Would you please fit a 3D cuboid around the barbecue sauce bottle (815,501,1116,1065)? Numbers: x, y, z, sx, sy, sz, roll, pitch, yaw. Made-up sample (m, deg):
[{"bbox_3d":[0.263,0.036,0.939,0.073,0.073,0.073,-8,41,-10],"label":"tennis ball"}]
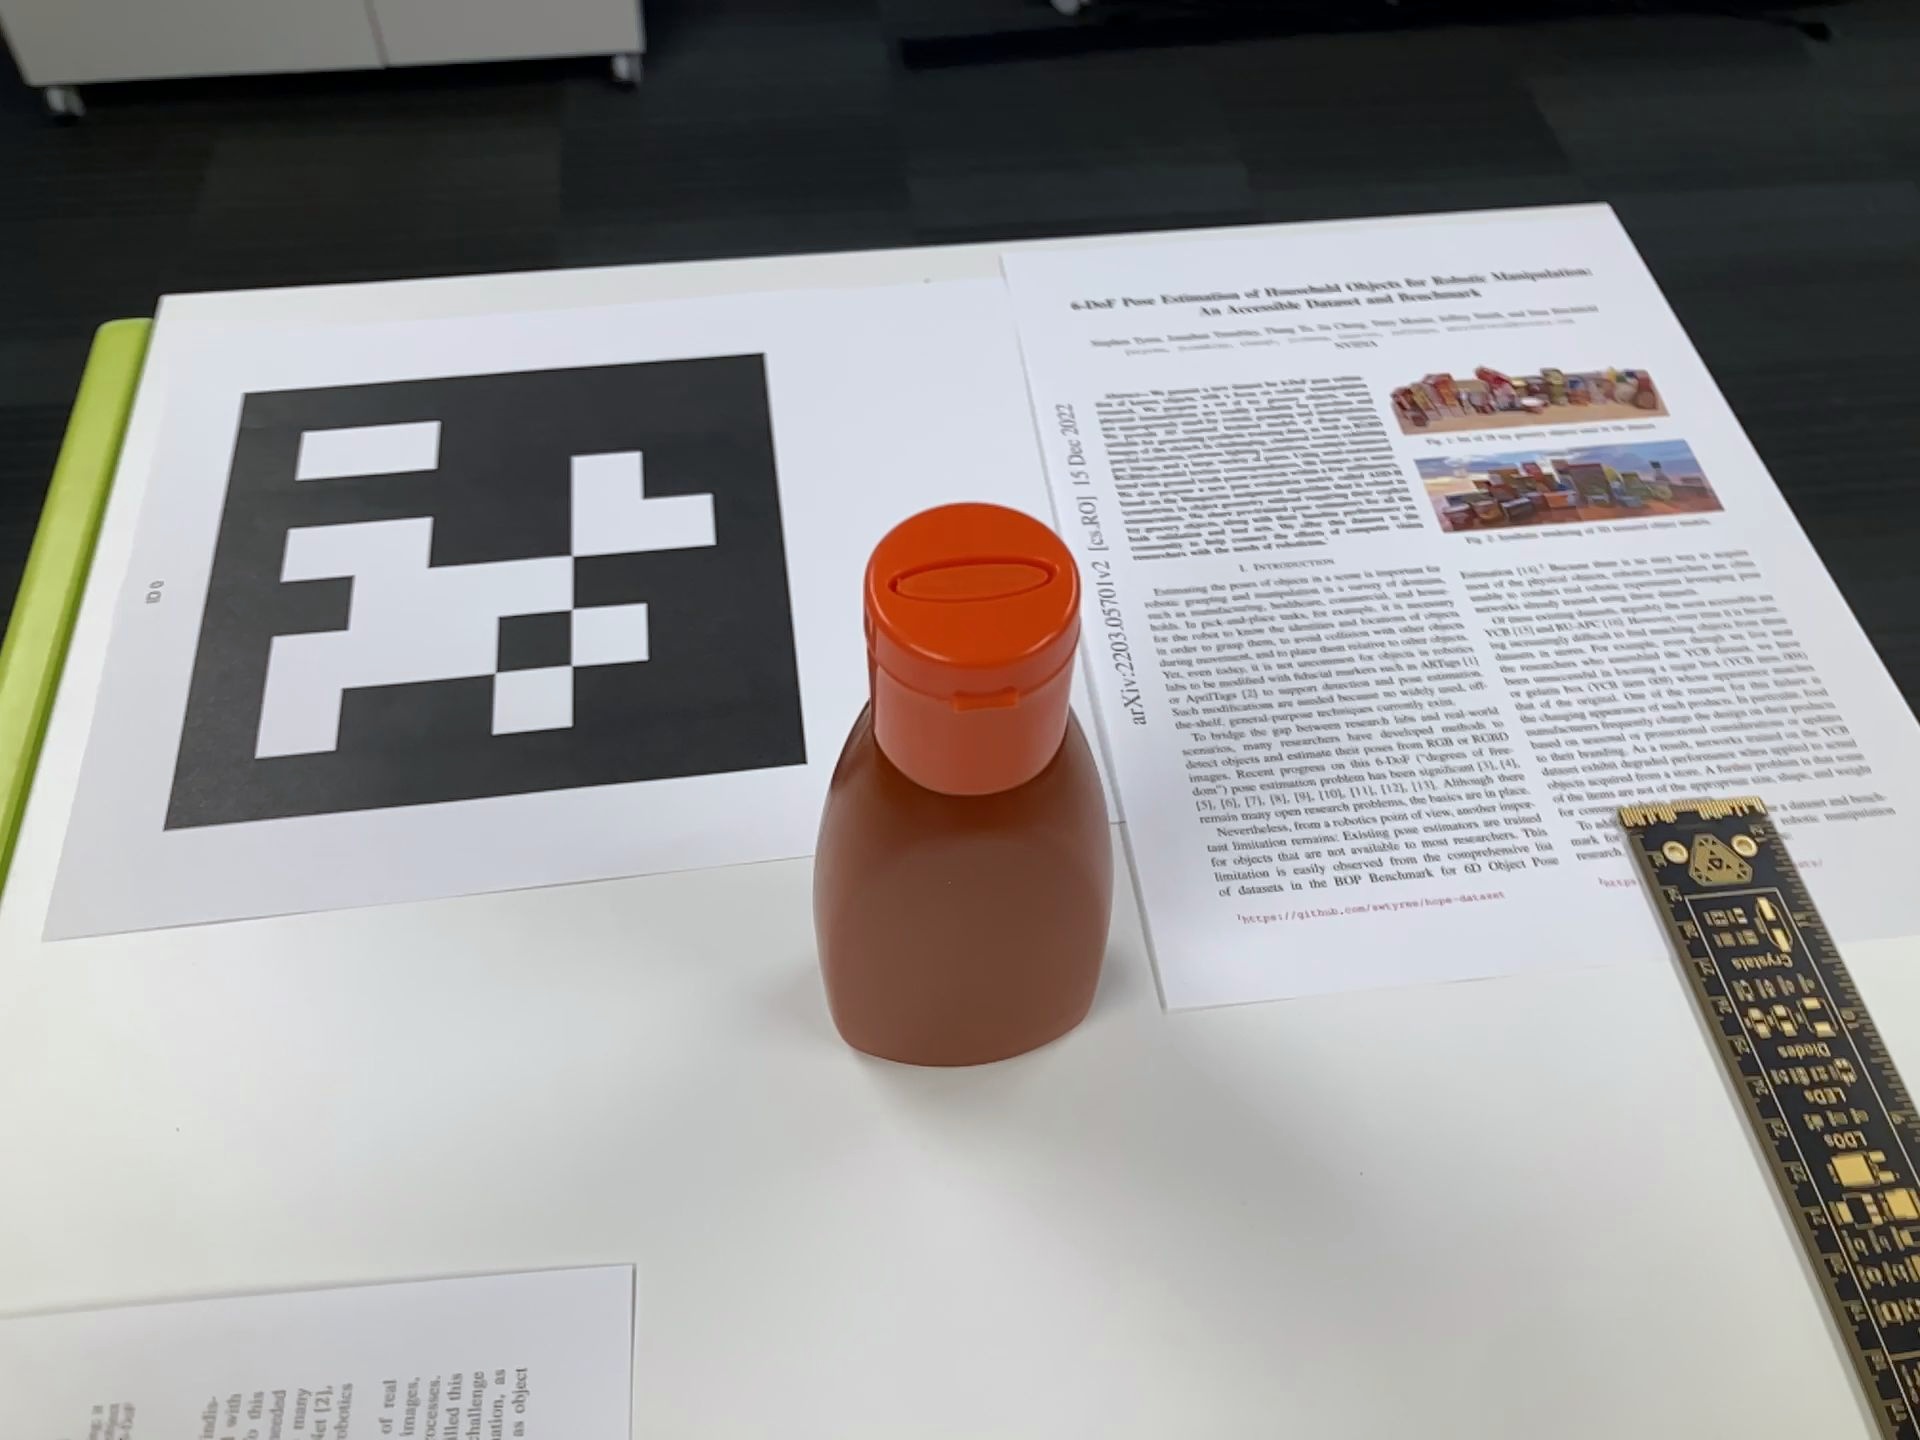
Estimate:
[{"bbox_3d":[0.001,0.020,0.319,0.065,0.148,0.043,-4,55,-4],"label":"barbecue sauce bottle"}]
